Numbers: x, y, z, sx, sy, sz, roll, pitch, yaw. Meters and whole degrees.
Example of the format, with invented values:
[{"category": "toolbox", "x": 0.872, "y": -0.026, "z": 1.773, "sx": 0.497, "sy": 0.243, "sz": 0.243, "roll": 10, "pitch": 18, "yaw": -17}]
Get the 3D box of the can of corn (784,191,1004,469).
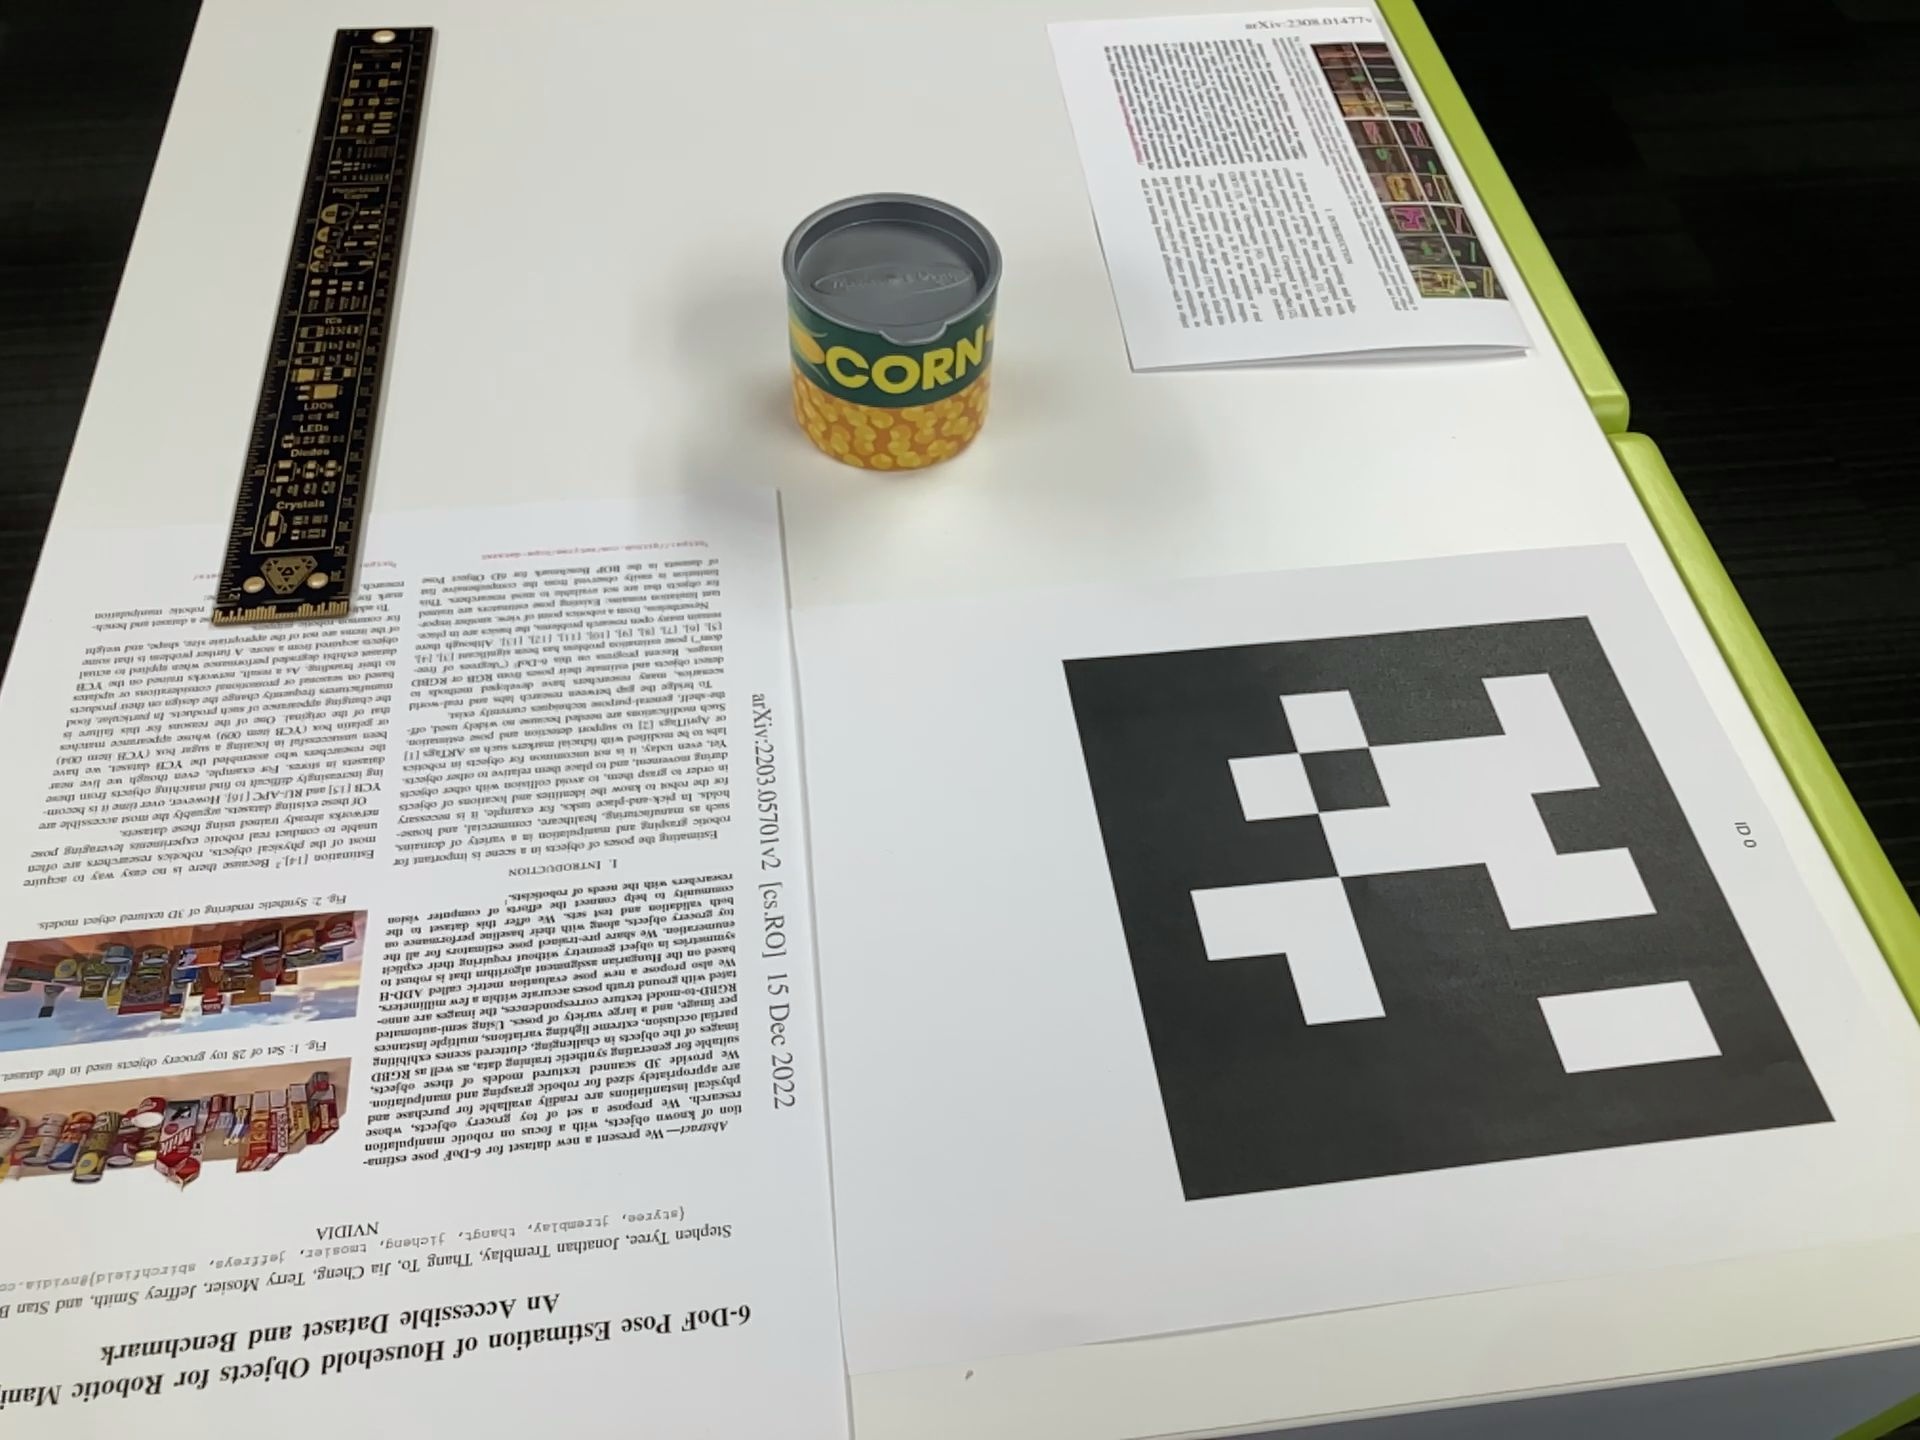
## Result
[{"category": "can of corn", "x": -0.021, "y": -0.120, "z": 0.500, "sx": 0.071, "sy": 0.058, "sz": 0.071, "roll": 2, "pitch": 53, "yaw": -2}]
